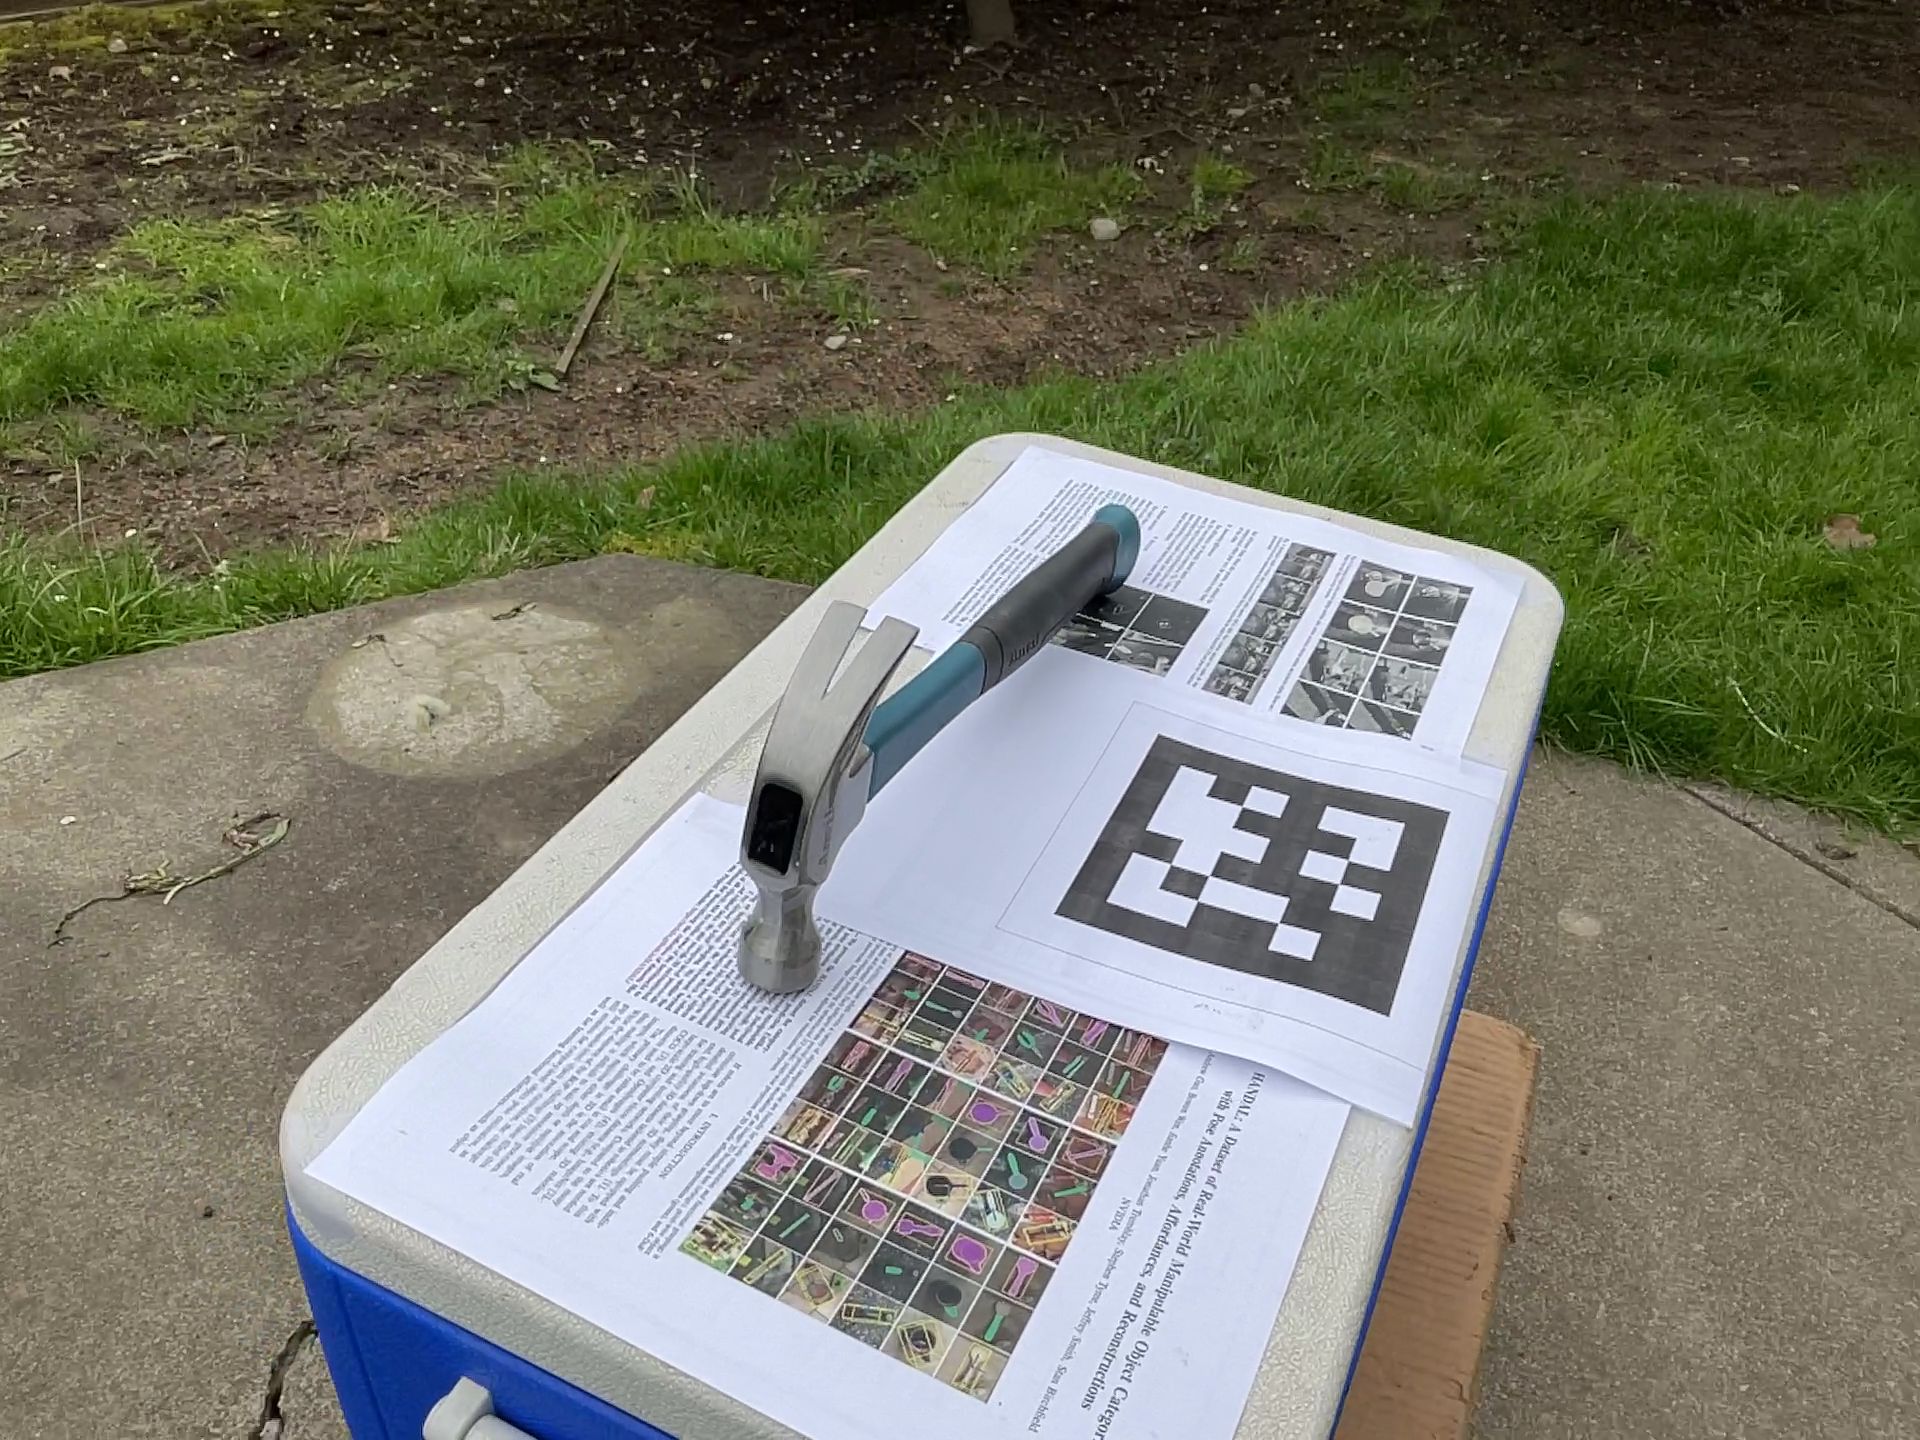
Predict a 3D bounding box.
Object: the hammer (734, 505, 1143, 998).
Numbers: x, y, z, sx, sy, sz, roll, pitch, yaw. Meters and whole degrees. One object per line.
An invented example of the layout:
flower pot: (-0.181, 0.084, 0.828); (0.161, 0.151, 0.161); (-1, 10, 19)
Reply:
hammer: (0.007, -0.023, 0.660); (0.033, 0.128, 0.331); (21, 31, 17)
